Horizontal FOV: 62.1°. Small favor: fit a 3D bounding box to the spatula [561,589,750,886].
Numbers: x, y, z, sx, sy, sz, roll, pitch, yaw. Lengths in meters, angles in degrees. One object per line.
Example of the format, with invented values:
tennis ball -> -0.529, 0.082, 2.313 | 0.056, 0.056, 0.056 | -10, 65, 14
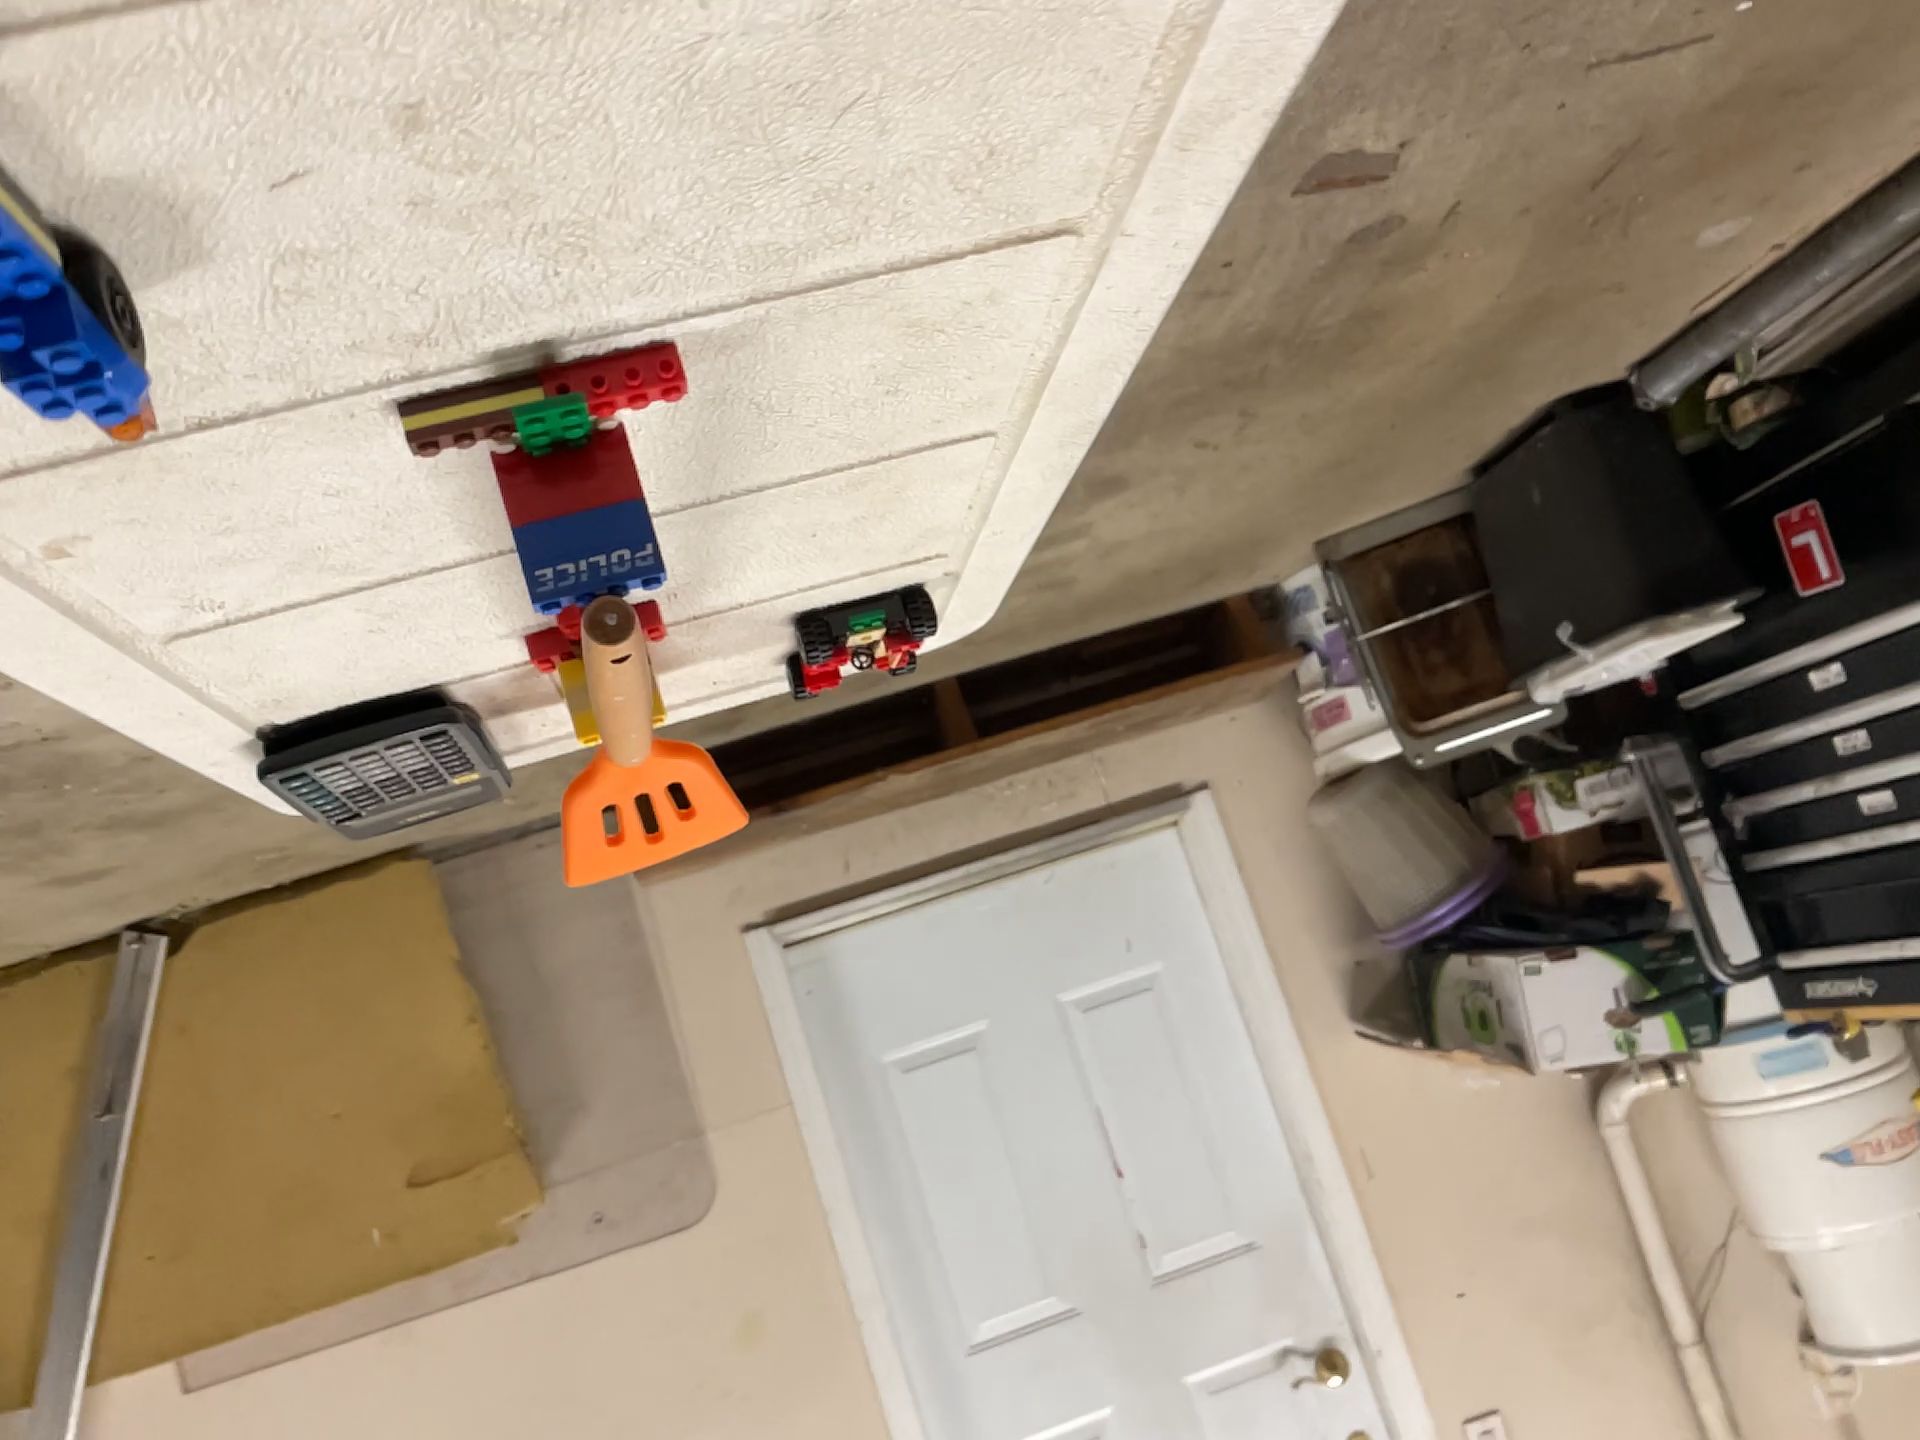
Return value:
spatula -> -0.107, 0.012, 0.526 | 0.081, 0.041, 0.322 | -19, 173, -13
